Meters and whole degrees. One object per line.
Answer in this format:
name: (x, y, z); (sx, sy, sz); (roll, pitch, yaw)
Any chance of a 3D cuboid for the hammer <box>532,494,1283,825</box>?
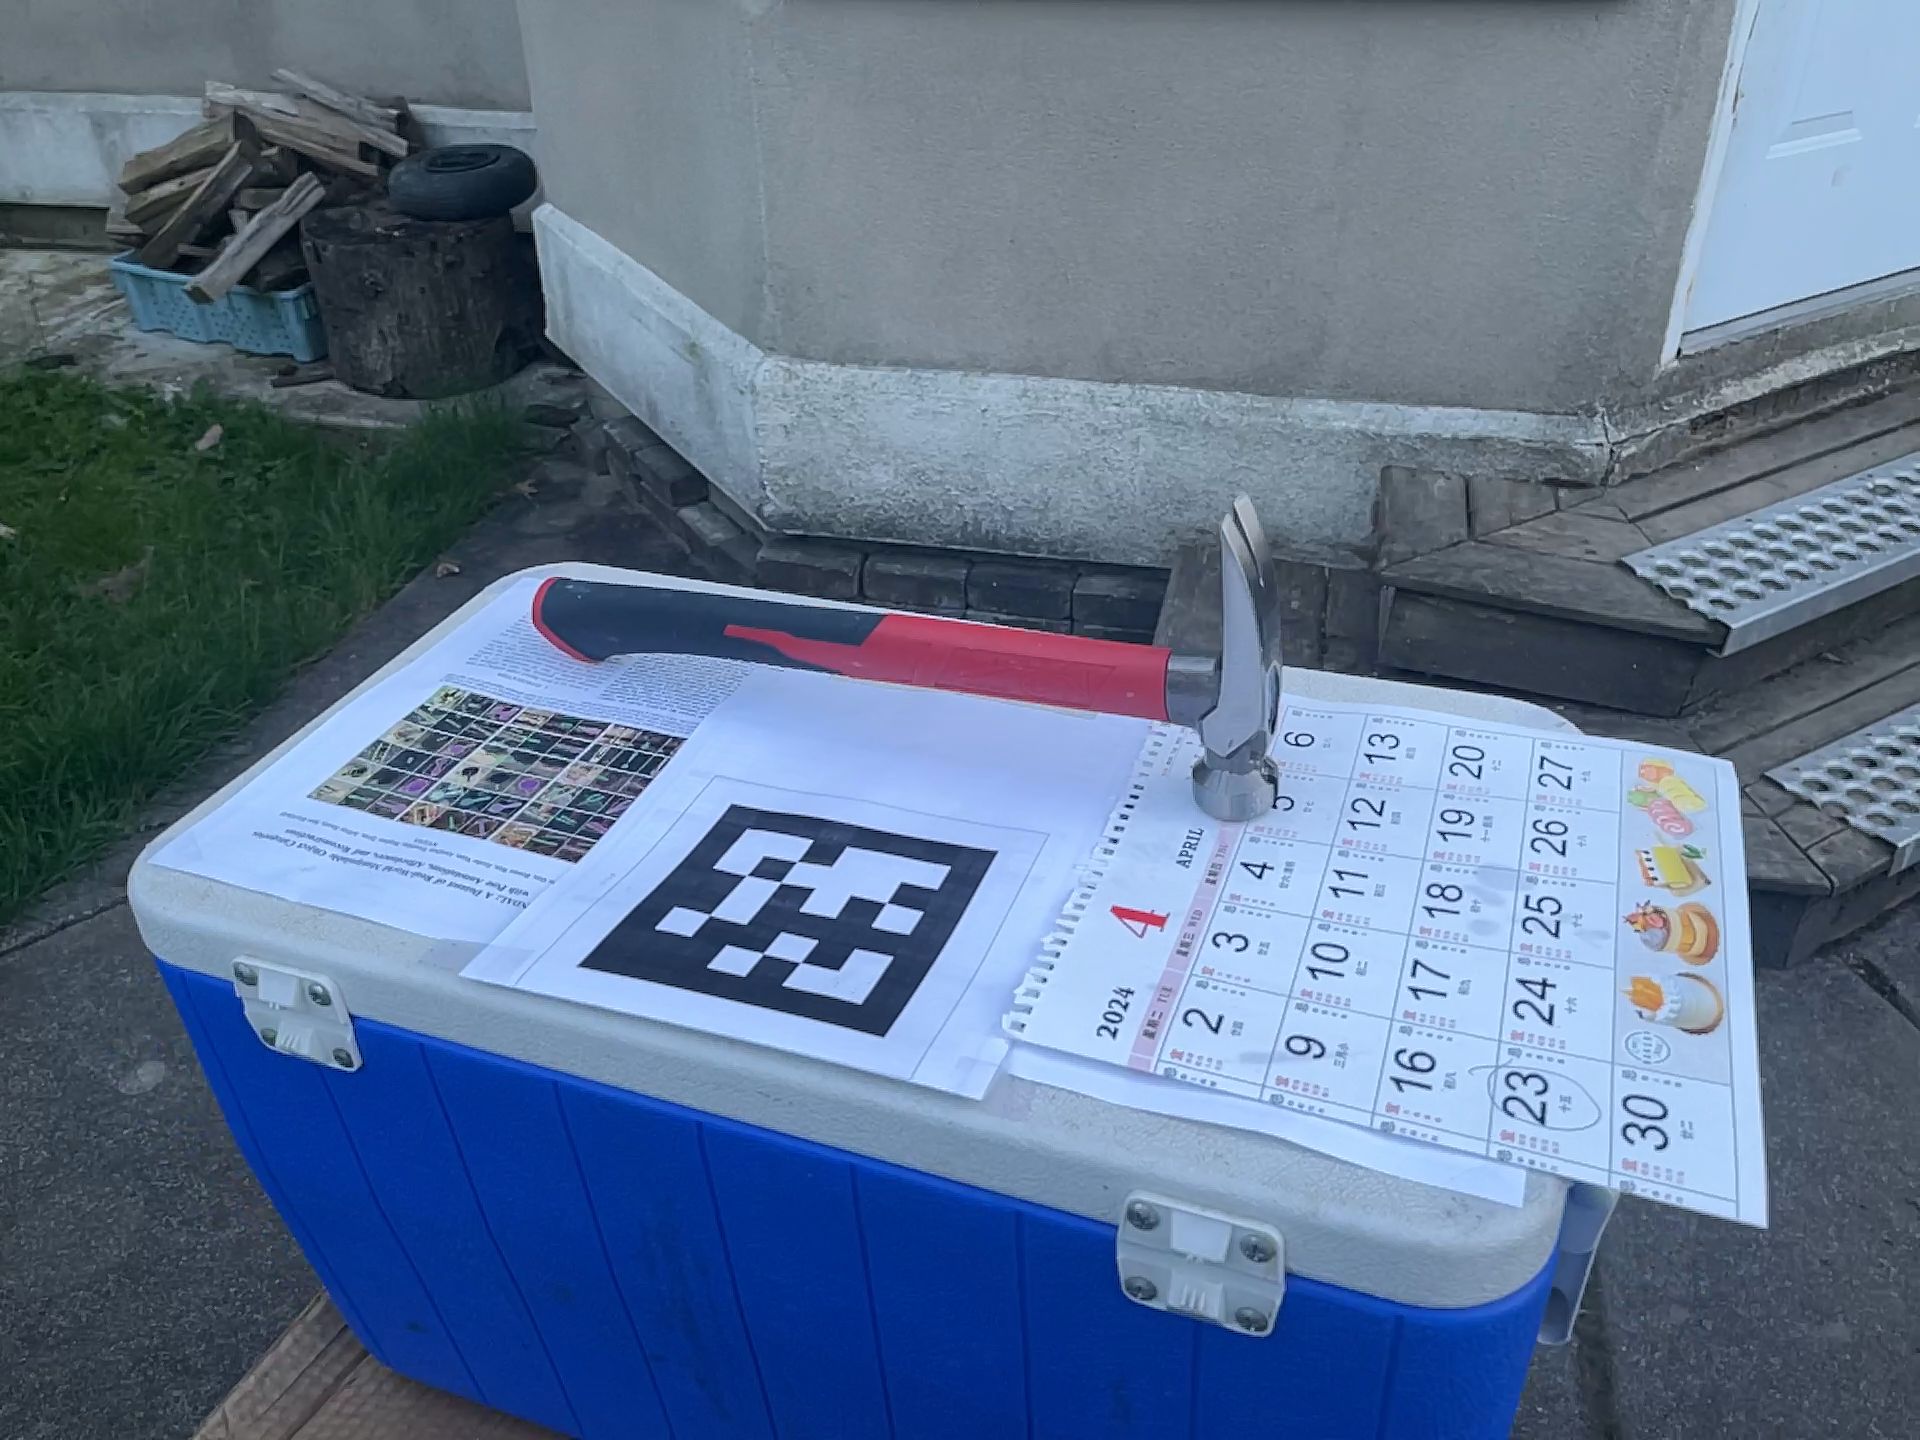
hammer: (-0.044, -0.047, 0.719); (0.386, 0.143, 0.038); (9, 35, 25)
